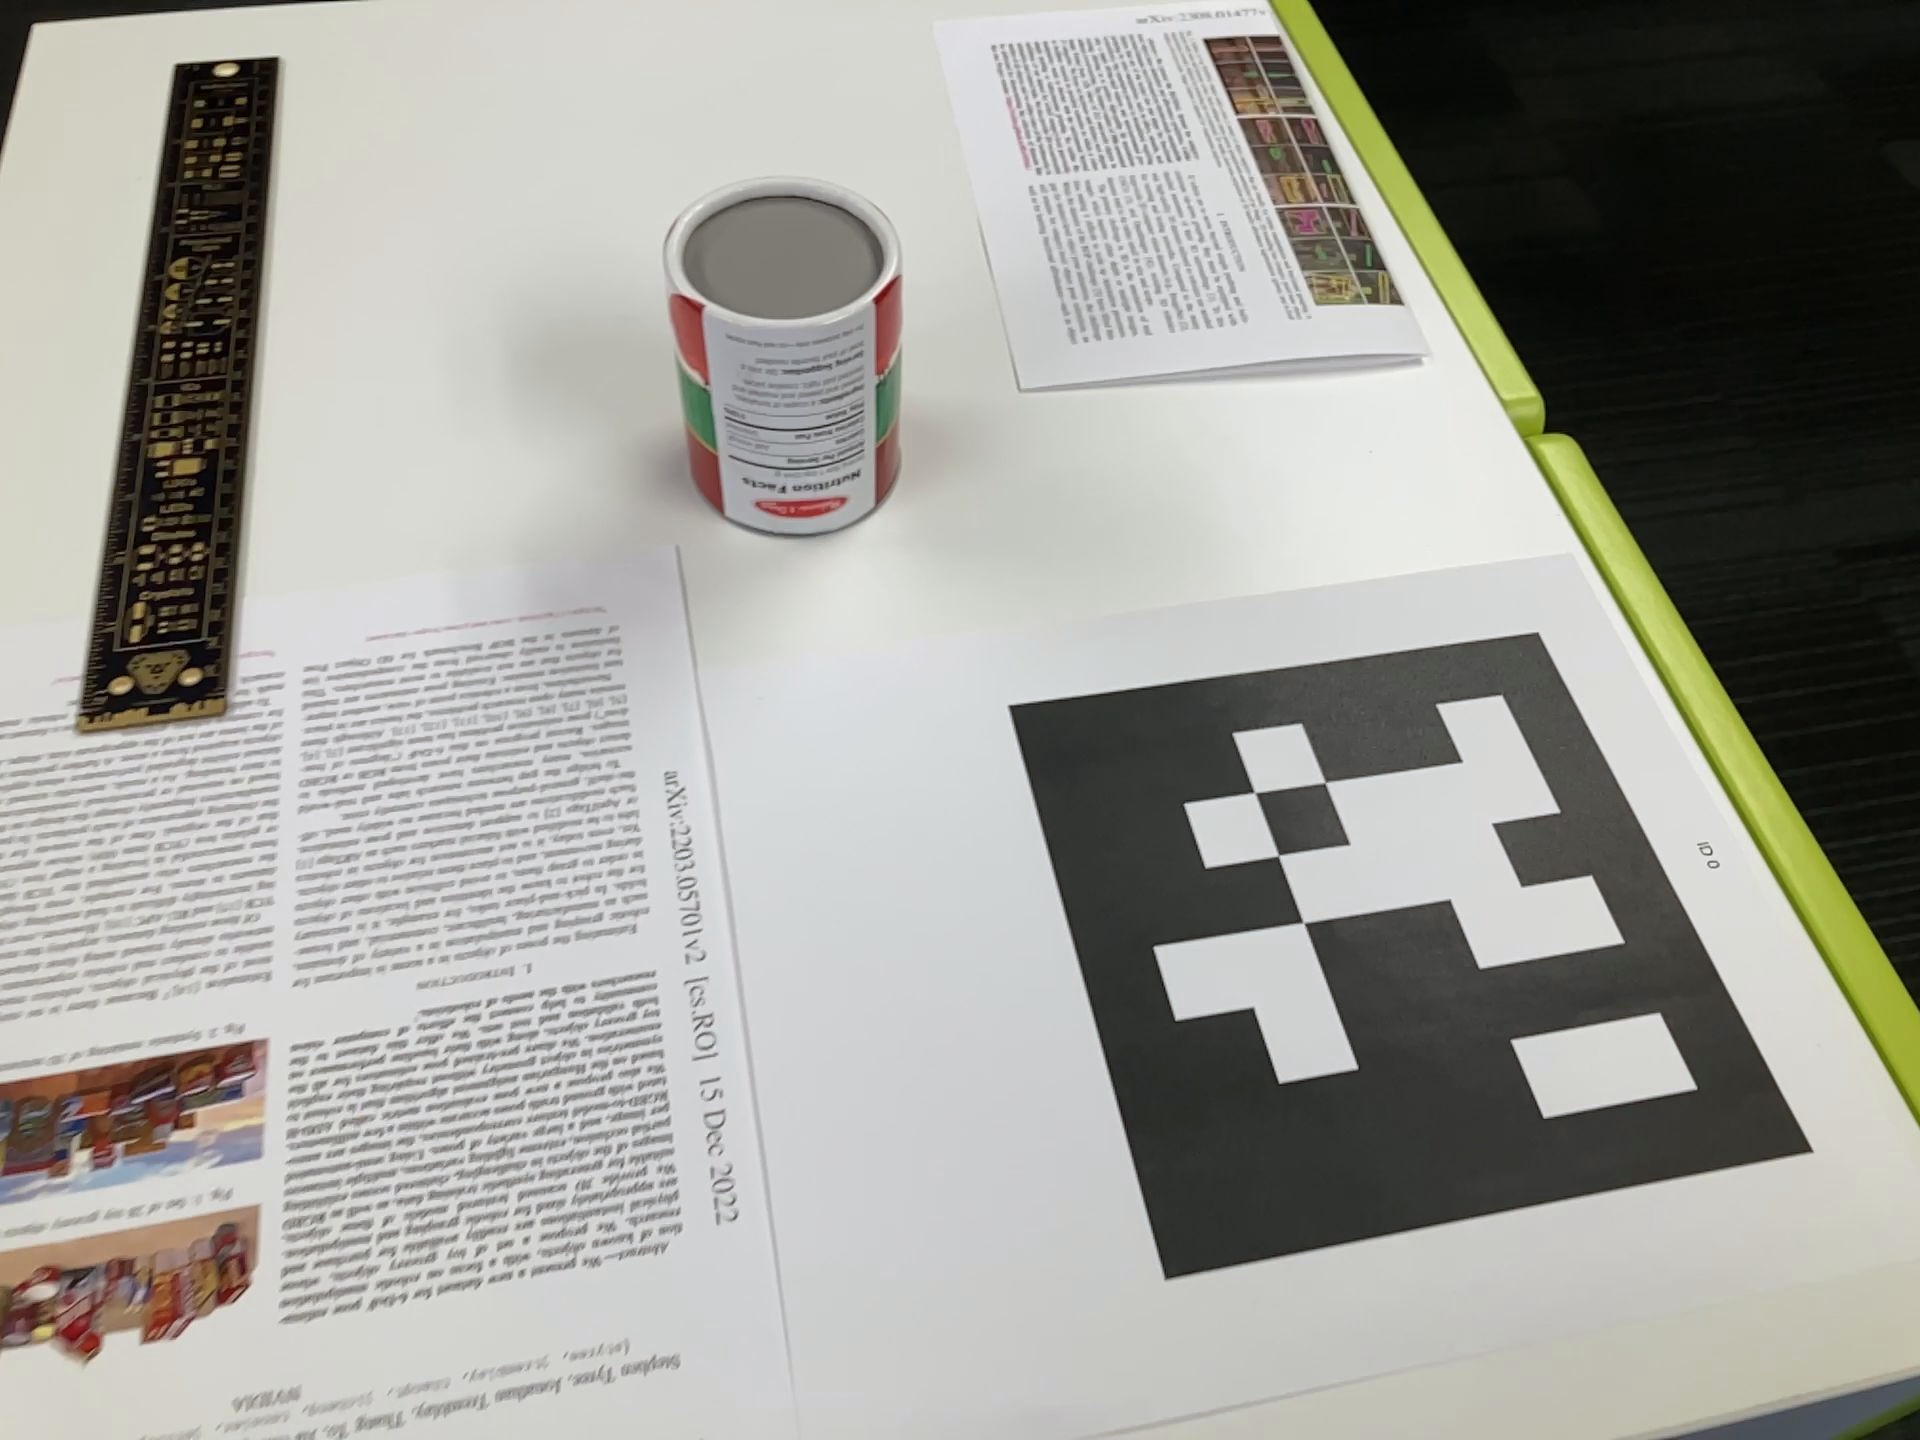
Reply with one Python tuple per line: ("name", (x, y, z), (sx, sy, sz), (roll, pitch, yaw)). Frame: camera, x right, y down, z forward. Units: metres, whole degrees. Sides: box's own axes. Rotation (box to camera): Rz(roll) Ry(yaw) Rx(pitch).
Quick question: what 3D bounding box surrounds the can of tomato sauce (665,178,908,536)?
("can of tomato sauce", (-0.050, -0.109, 0.476), (0.071, 0.083, 0.071), (0, 54, 0))
